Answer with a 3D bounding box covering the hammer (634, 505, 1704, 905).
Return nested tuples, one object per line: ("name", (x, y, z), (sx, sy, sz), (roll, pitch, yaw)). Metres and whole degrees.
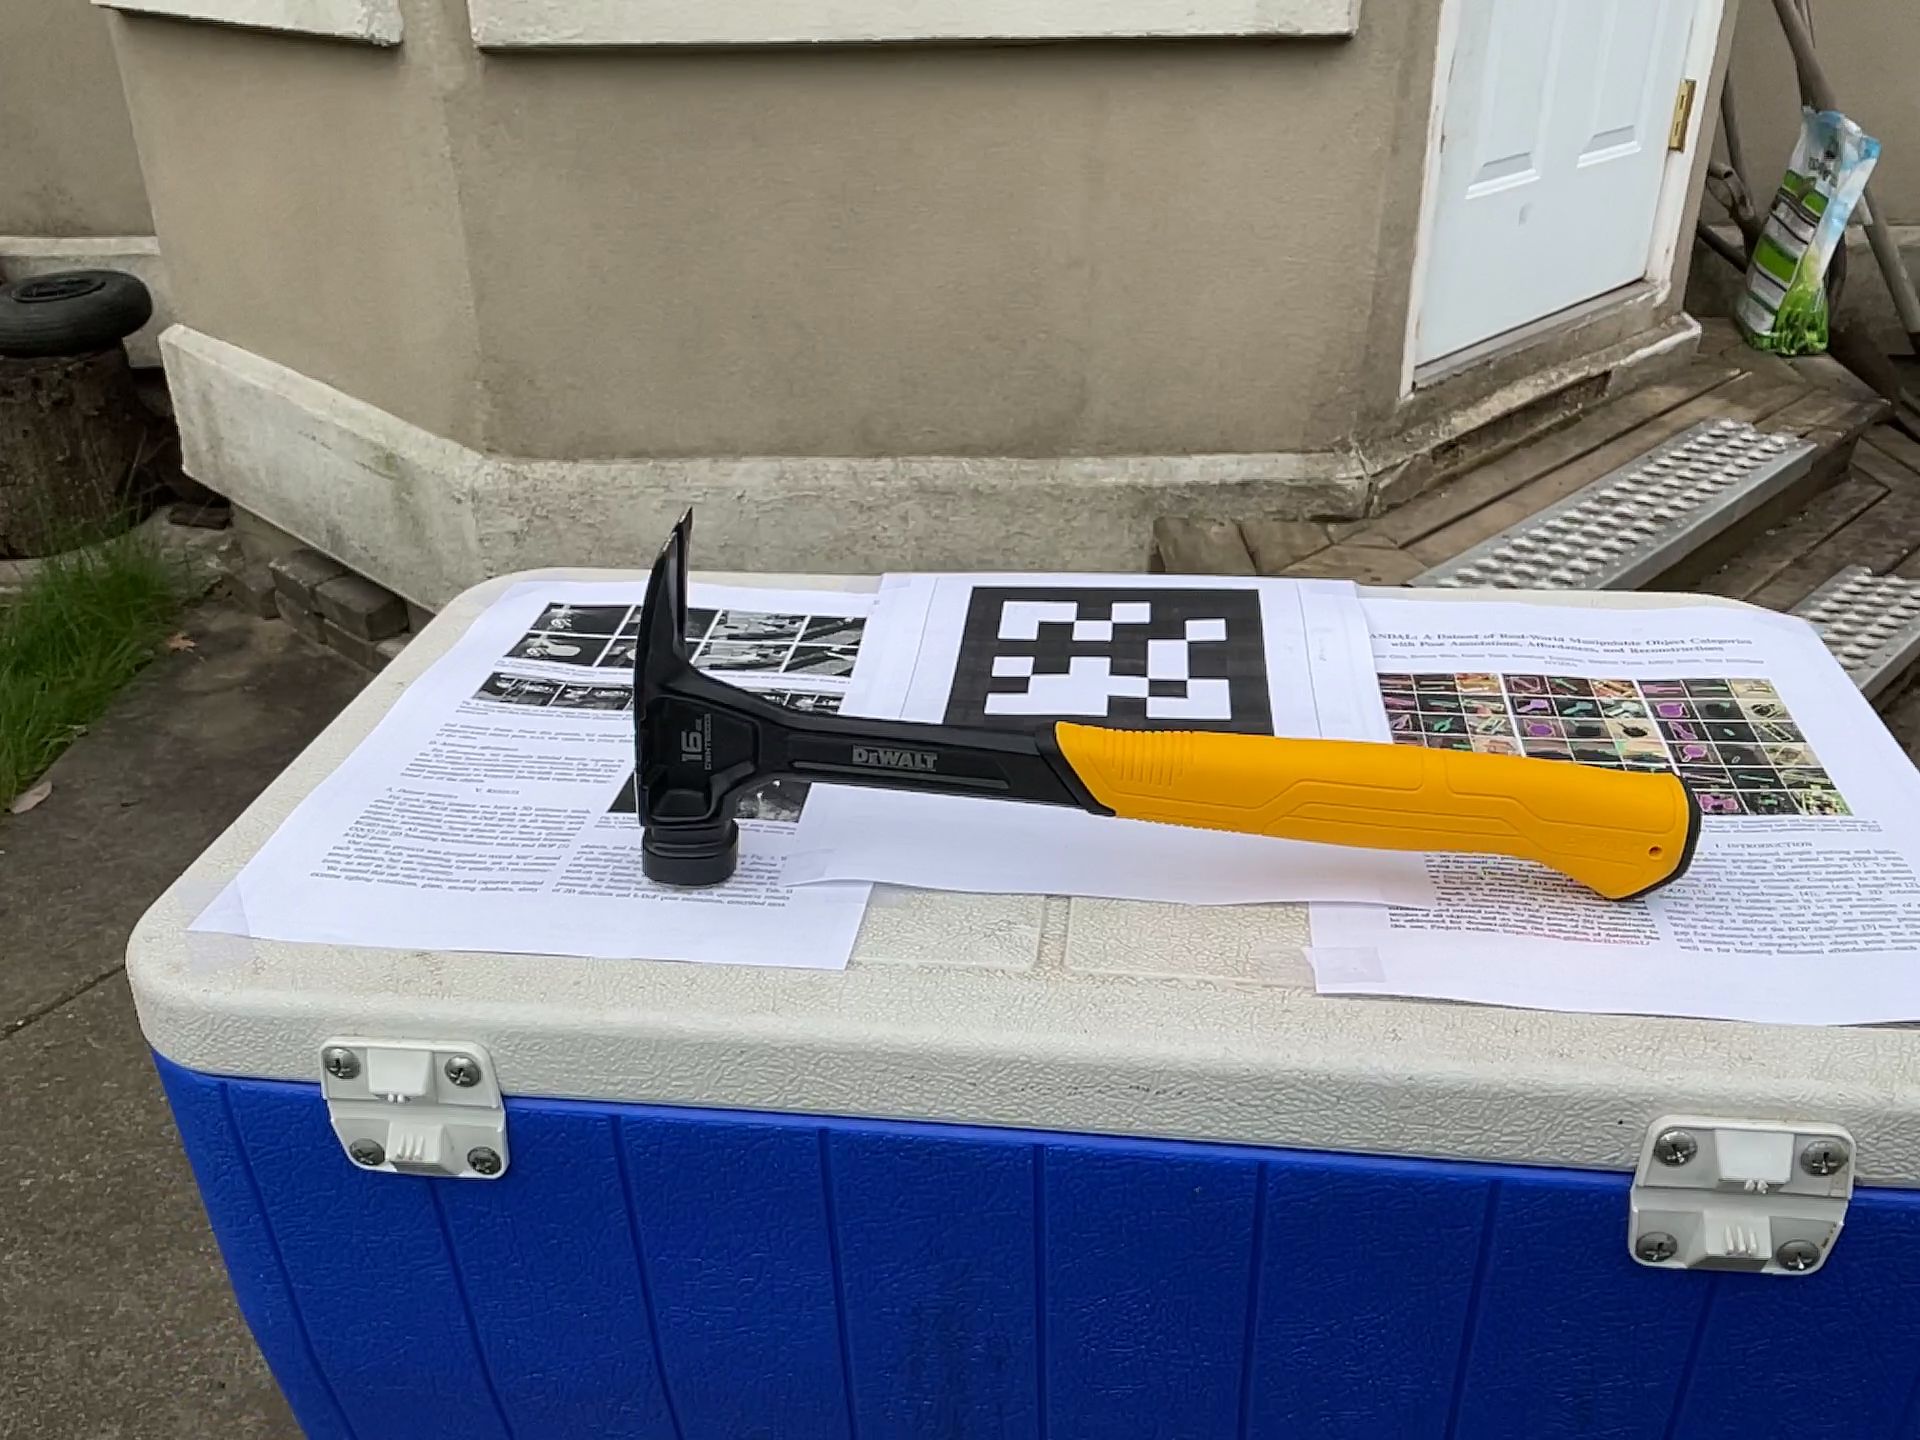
("hammer", (0.064, 0.012, 0.508), (0.337, 0.127, 0.034), (6, 29, 2))
